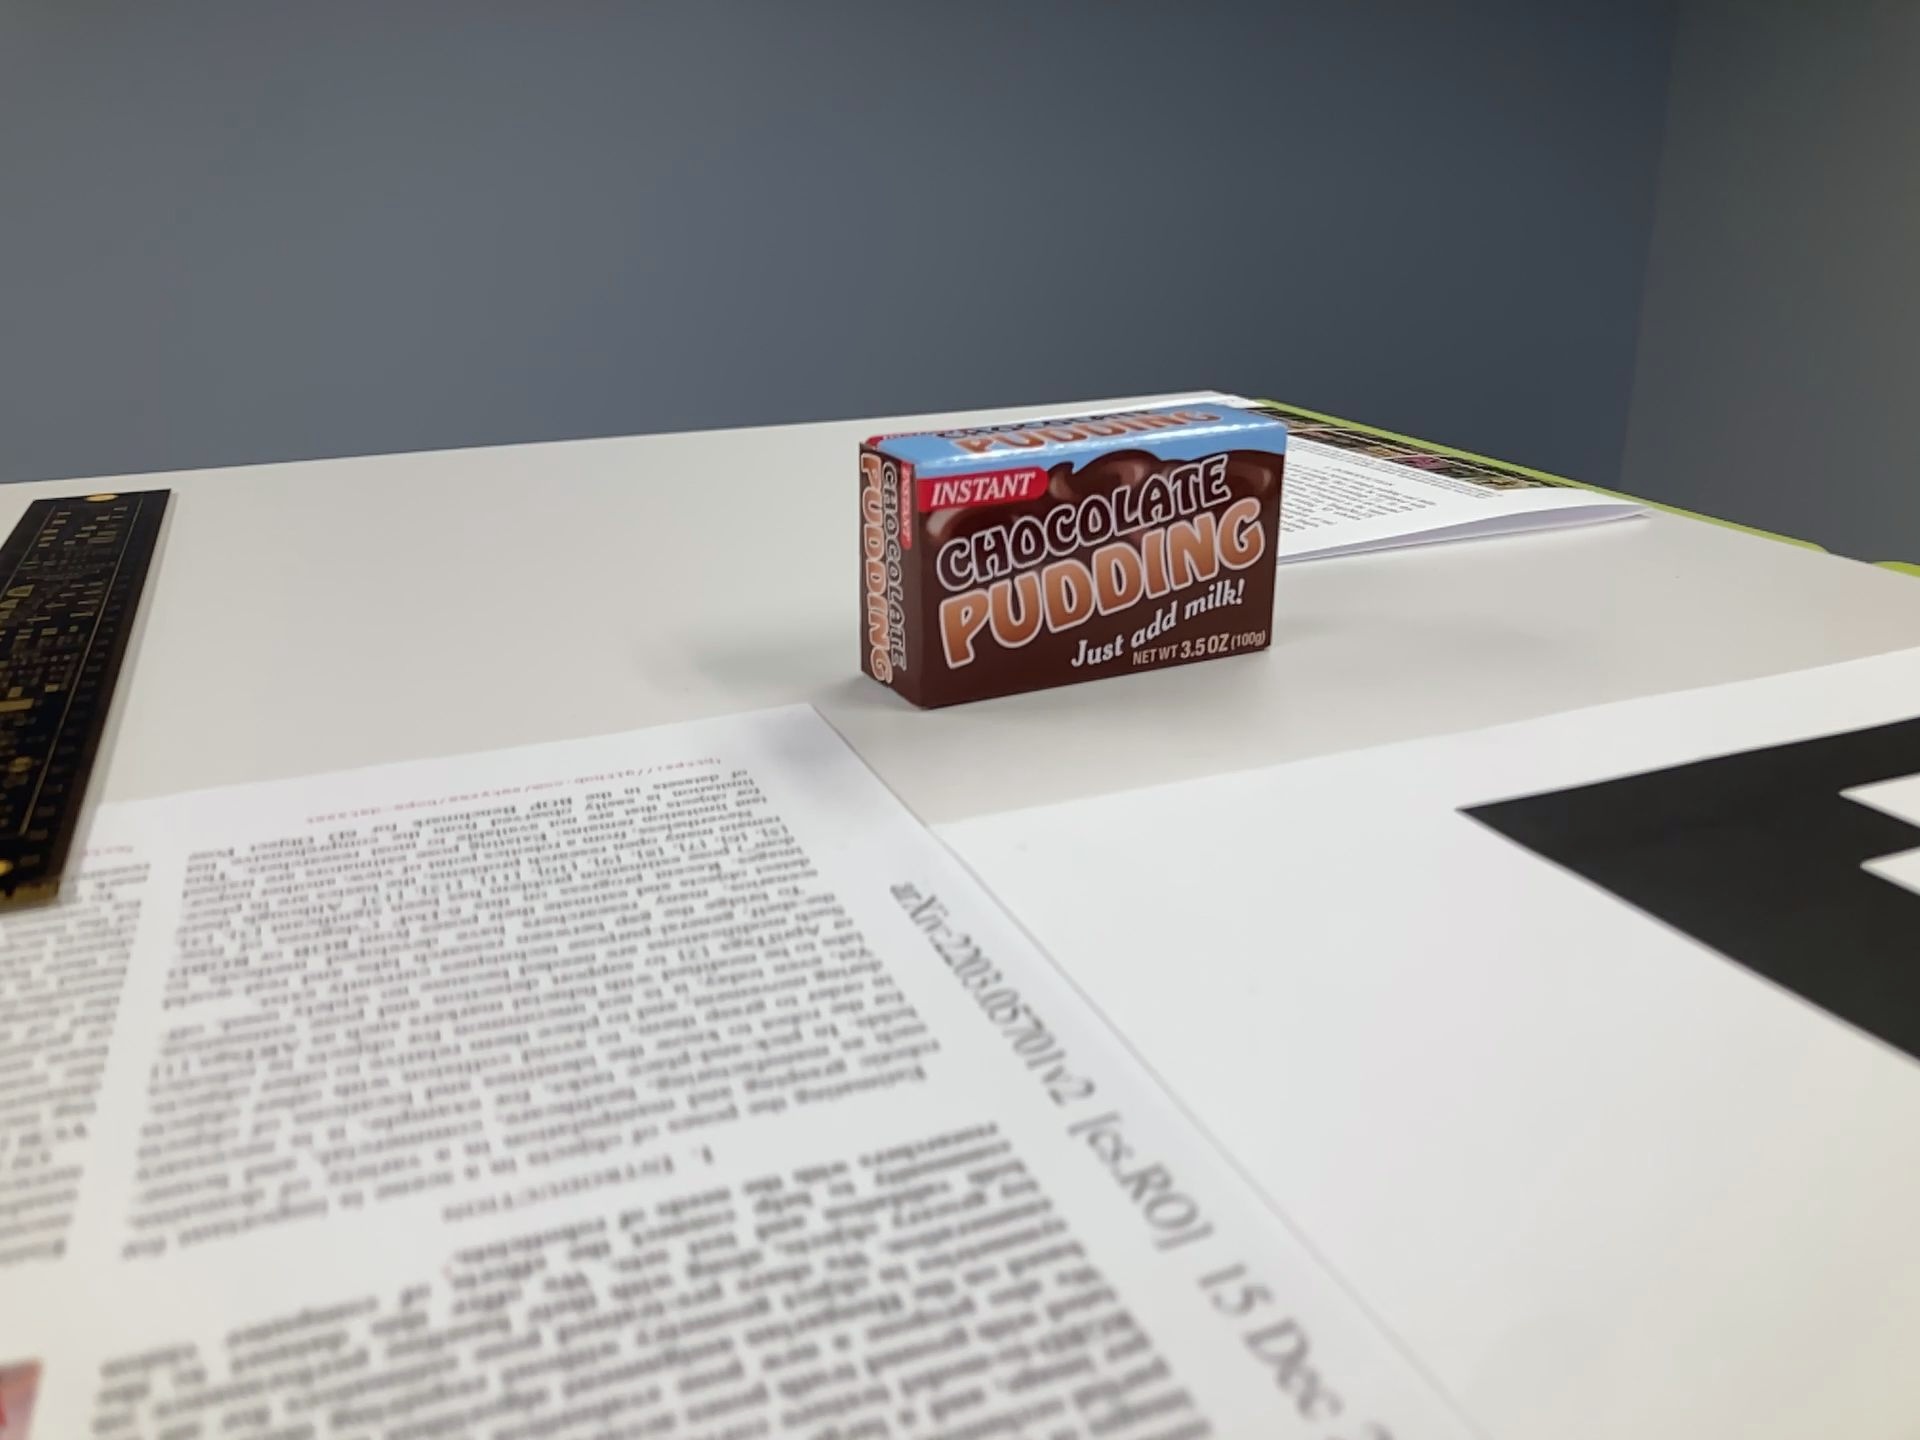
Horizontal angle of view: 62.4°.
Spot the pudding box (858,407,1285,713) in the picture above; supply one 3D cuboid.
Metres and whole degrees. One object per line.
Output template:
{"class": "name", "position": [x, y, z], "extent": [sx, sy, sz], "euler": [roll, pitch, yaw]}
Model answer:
{"class": "pudding box", "position": [0.022, -0.034, 0.319], "extent": [0.083, 0.049, 0.030], "euler": [-10, 23, -25]}
